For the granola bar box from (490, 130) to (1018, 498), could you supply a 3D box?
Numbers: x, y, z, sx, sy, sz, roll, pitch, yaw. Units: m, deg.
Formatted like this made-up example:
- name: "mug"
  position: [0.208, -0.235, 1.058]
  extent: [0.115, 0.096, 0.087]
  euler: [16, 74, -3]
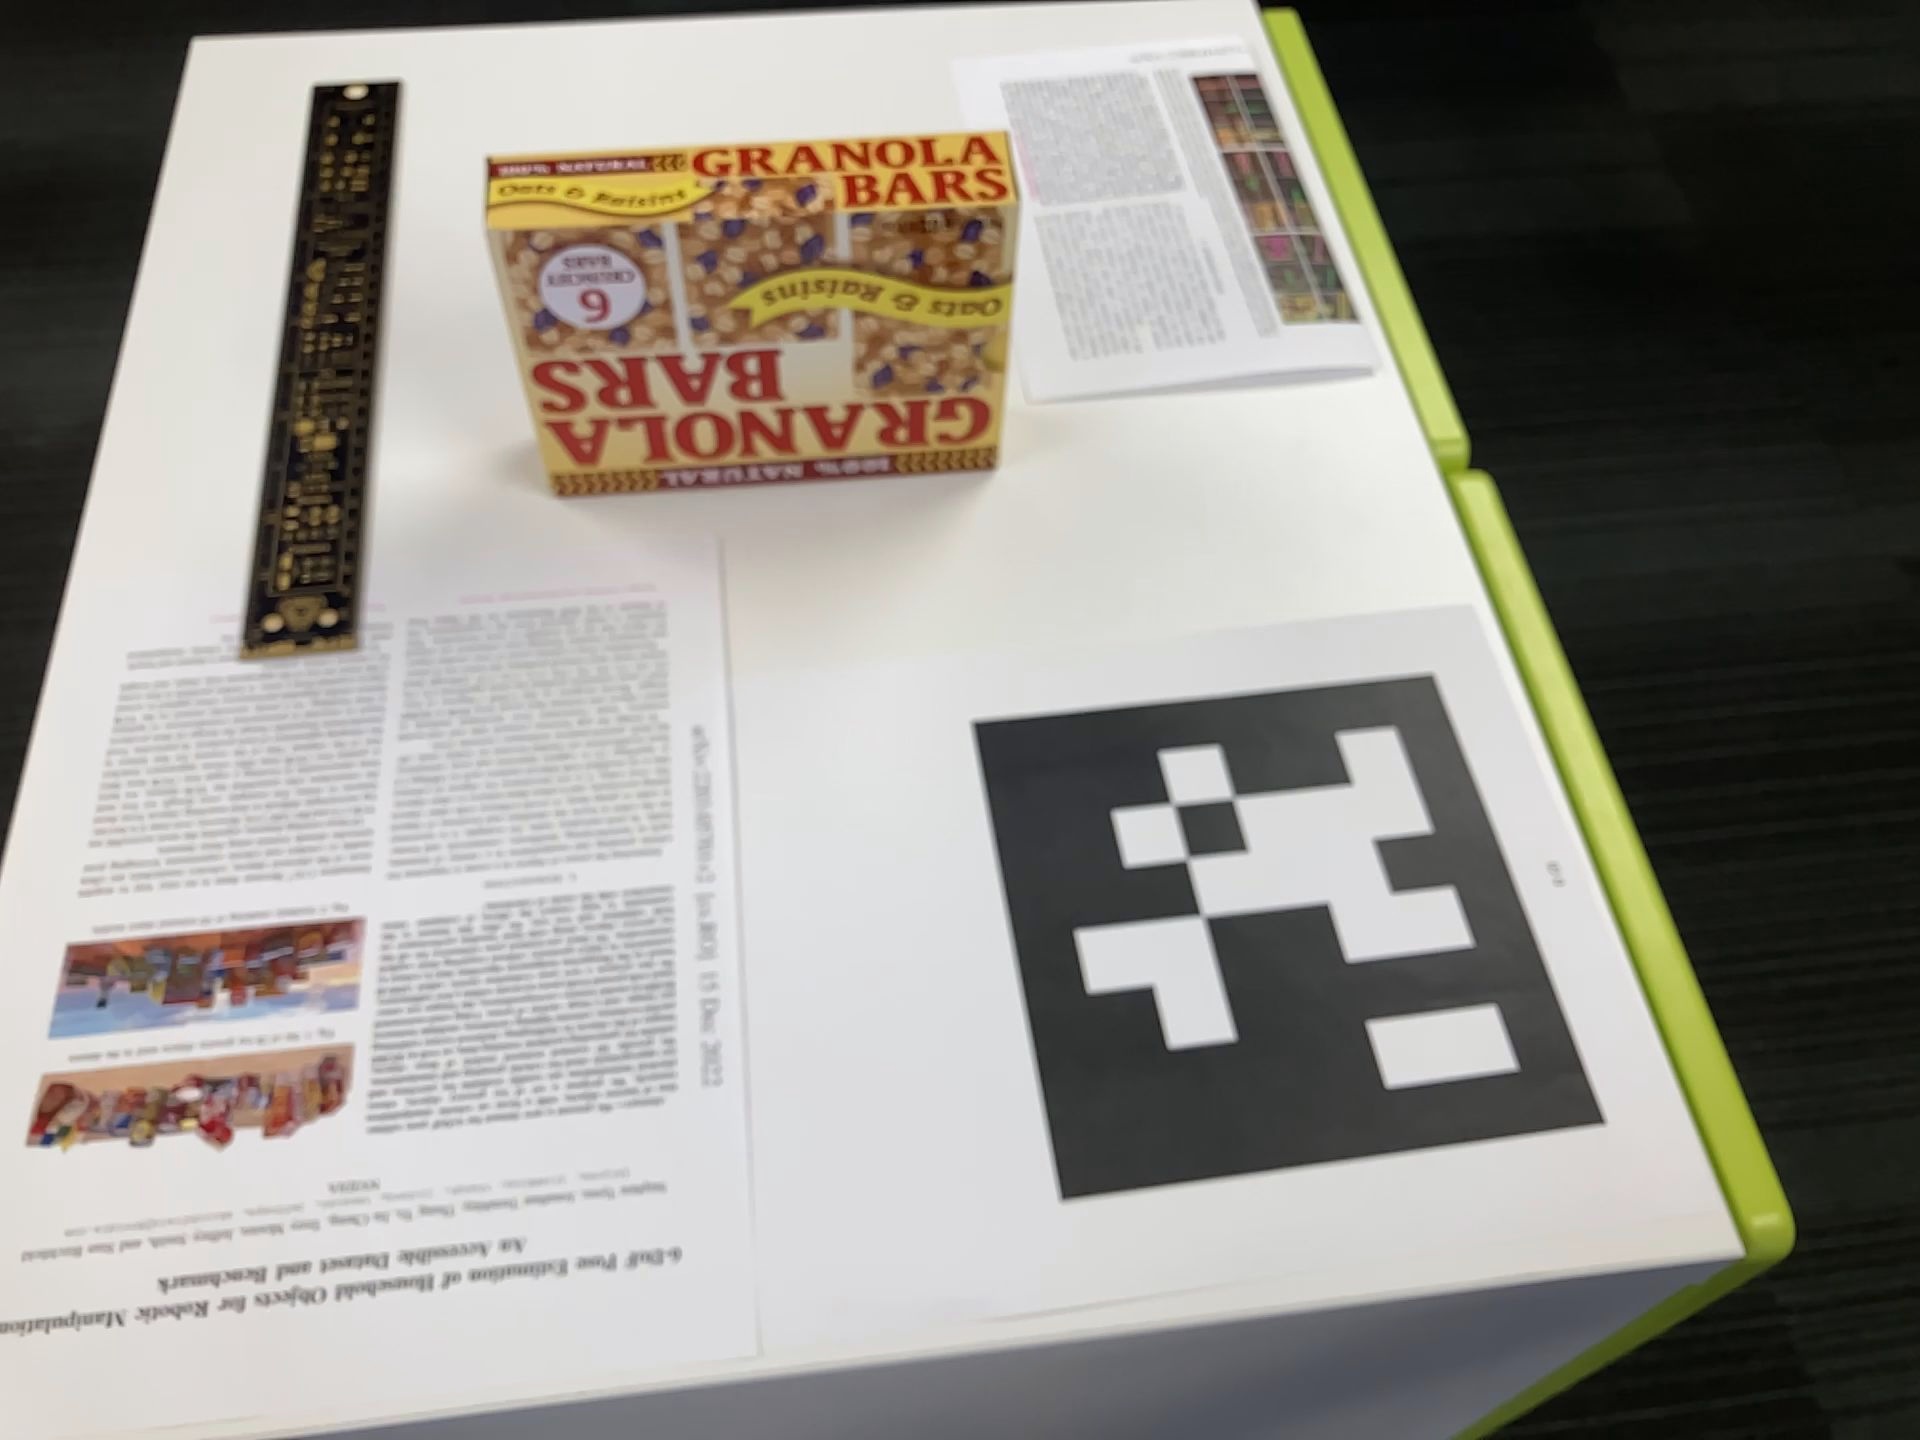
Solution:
- name: "granola bar box"
  position: [-0.066, -0.136, 0.553]
  extent: [0.165, 0.124, 0.039]
  euler: [-5, 57, -5]
